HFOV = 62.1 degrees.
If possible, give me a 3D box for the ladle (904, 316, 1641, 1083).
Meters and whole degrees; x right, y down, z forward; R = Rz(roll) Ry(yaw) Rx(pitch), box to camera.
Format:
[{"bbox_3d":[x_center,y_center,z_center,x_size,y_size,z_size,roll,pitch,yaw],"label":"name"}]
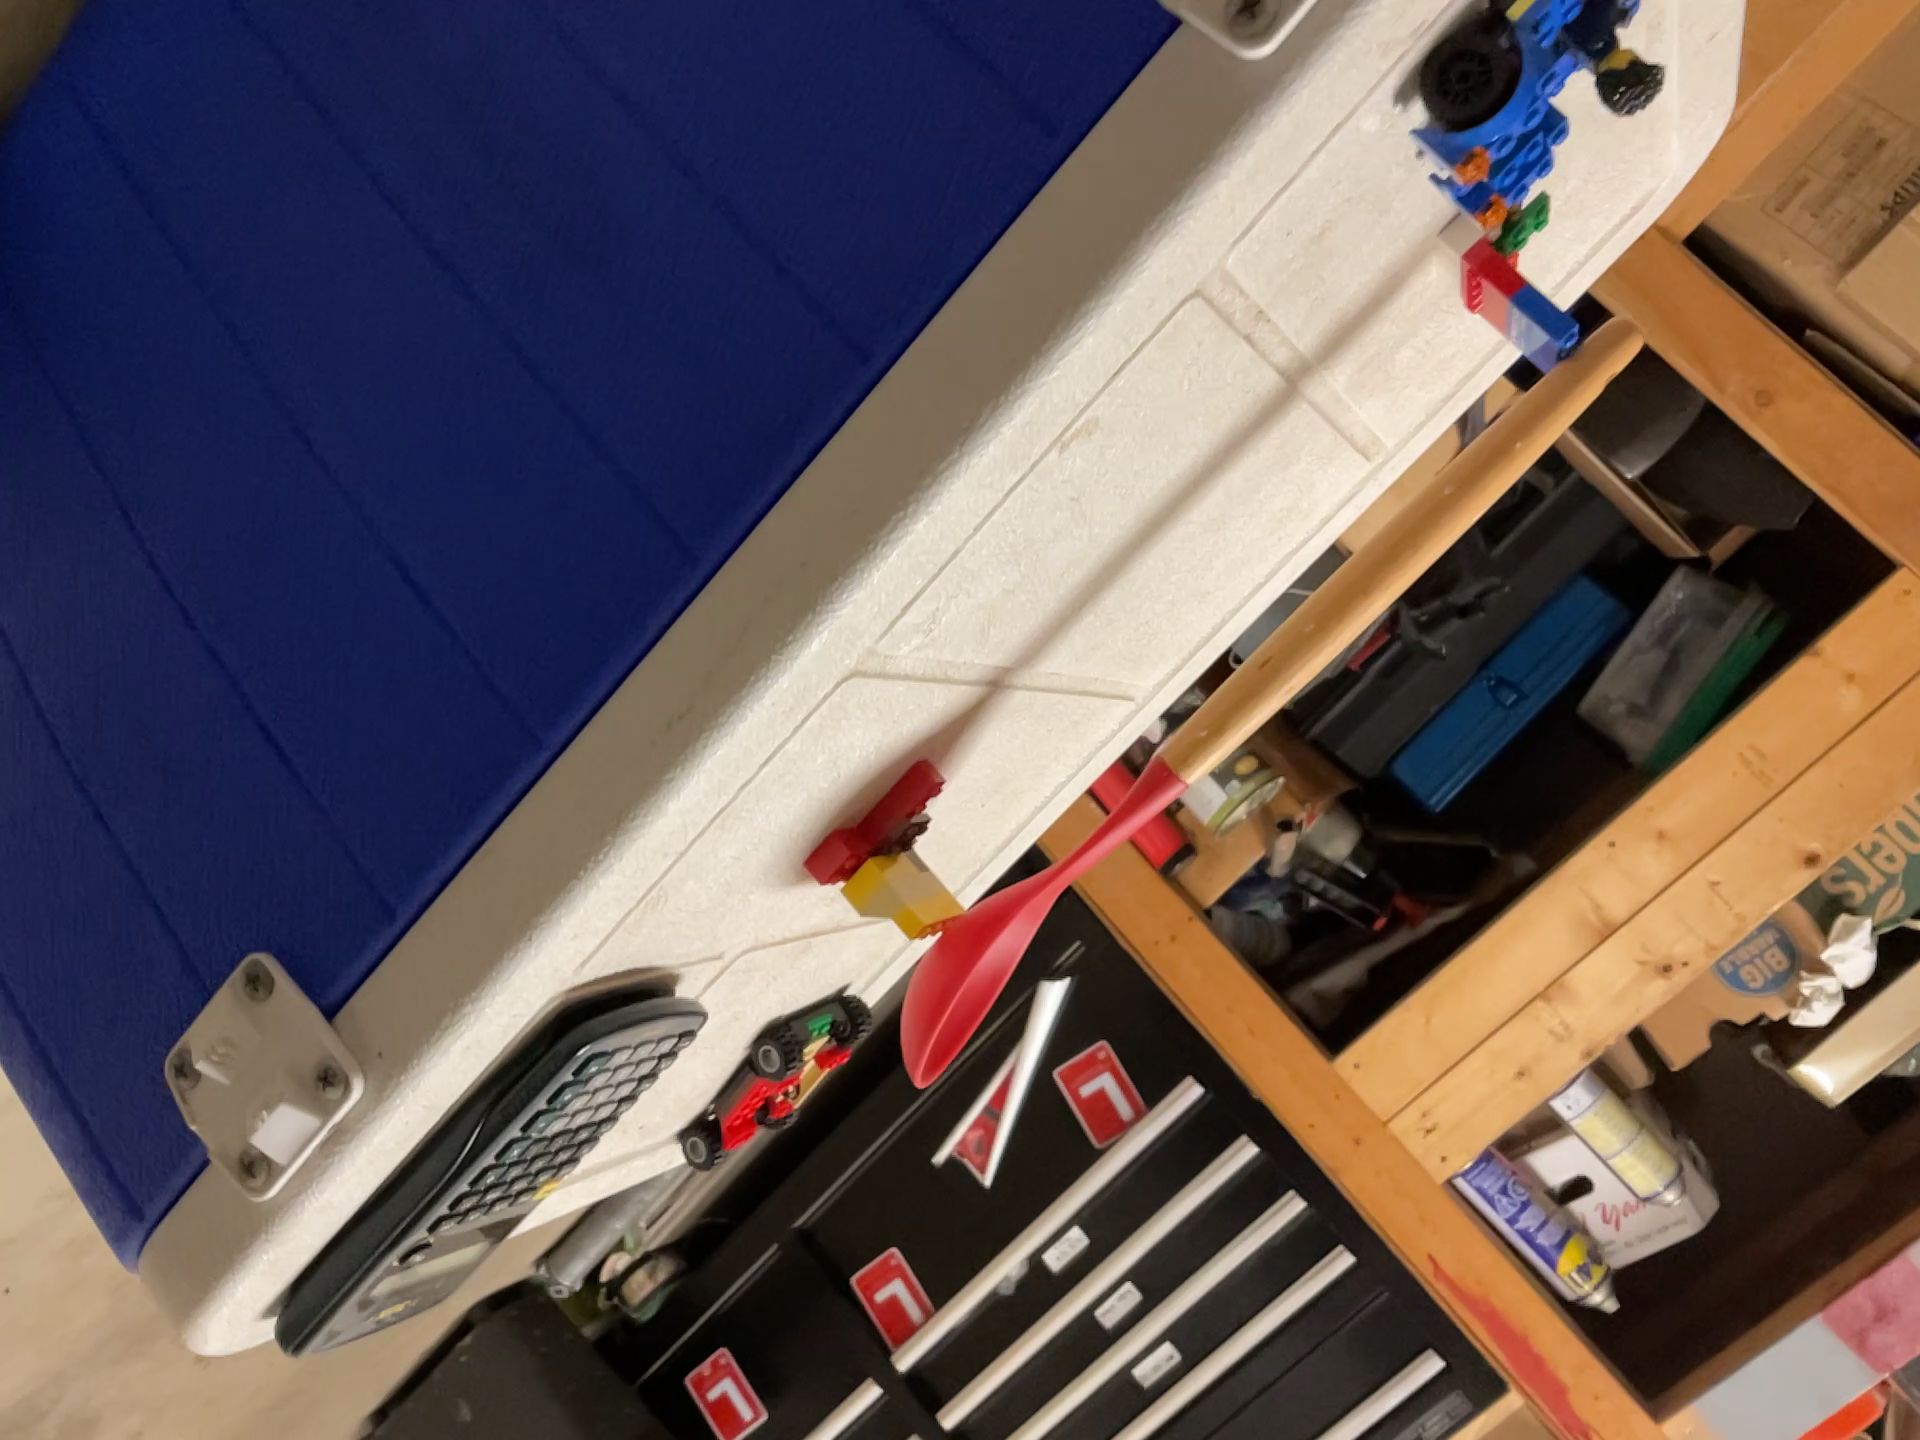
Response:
[{"bbox_3d":[0.086,-0.003,0.494,0.315,0.031,0.069,-46,168,12],"label":"ladle"}]
